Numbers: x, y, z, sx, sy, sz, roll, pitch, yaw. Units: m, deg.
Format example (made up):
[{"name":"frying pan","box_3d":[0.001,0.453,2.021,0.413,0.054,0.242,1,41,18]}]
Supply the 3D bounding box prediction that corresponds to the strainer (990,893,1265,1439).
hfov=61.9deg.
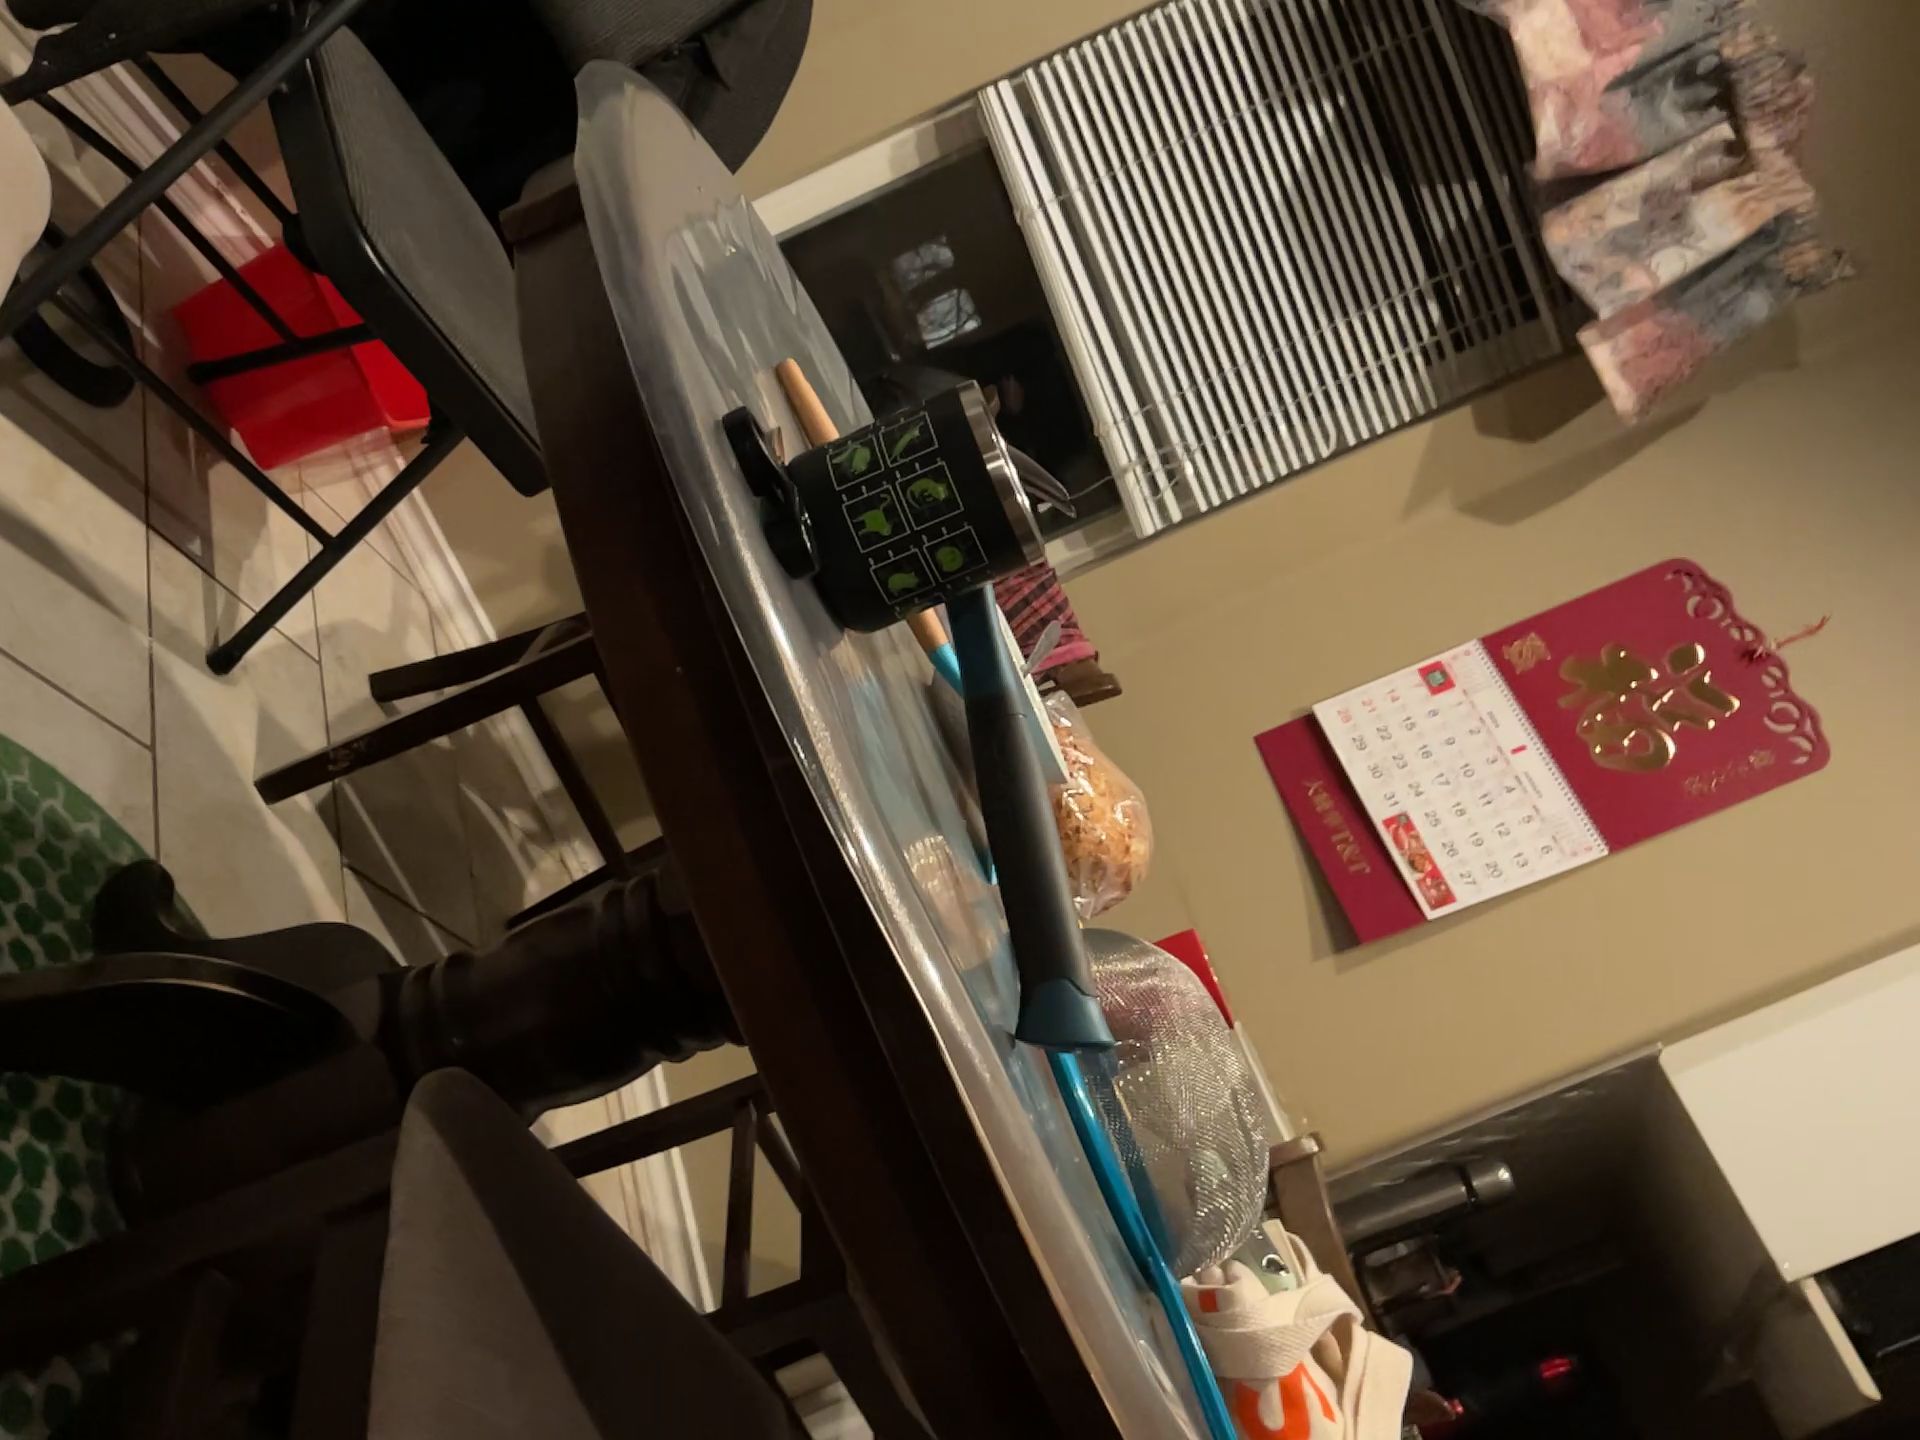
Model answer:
[{"name":"strainer","box_3d":[0.124,0.235,0.828,0.210,0.095,0.341,62,3,-41]}]

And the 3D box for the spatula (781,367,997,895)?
[{"name":"spatula","box_3d":[-0.033,-0.053,0.913,0.317,0.044,0.082,63,6,-1]}]

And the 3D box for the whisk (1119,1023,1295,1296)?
[{"name":"whisk","box_3d":[0.155,0.282,1.037,0.246,0.058,0.059,-122,-145,-59]}]

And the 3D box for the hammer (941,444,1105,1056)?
[{"name":"hammer","box_3d":[0.015,0.003,0.785,0.033,0.128,0.331,50,26,-65]}]

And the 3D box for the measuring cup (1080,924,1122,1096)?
[{"name":"measuring cup","box_3d":[0.086,0.184,1.017,0.062,0.029,0.156,-89,154,-78]}]
